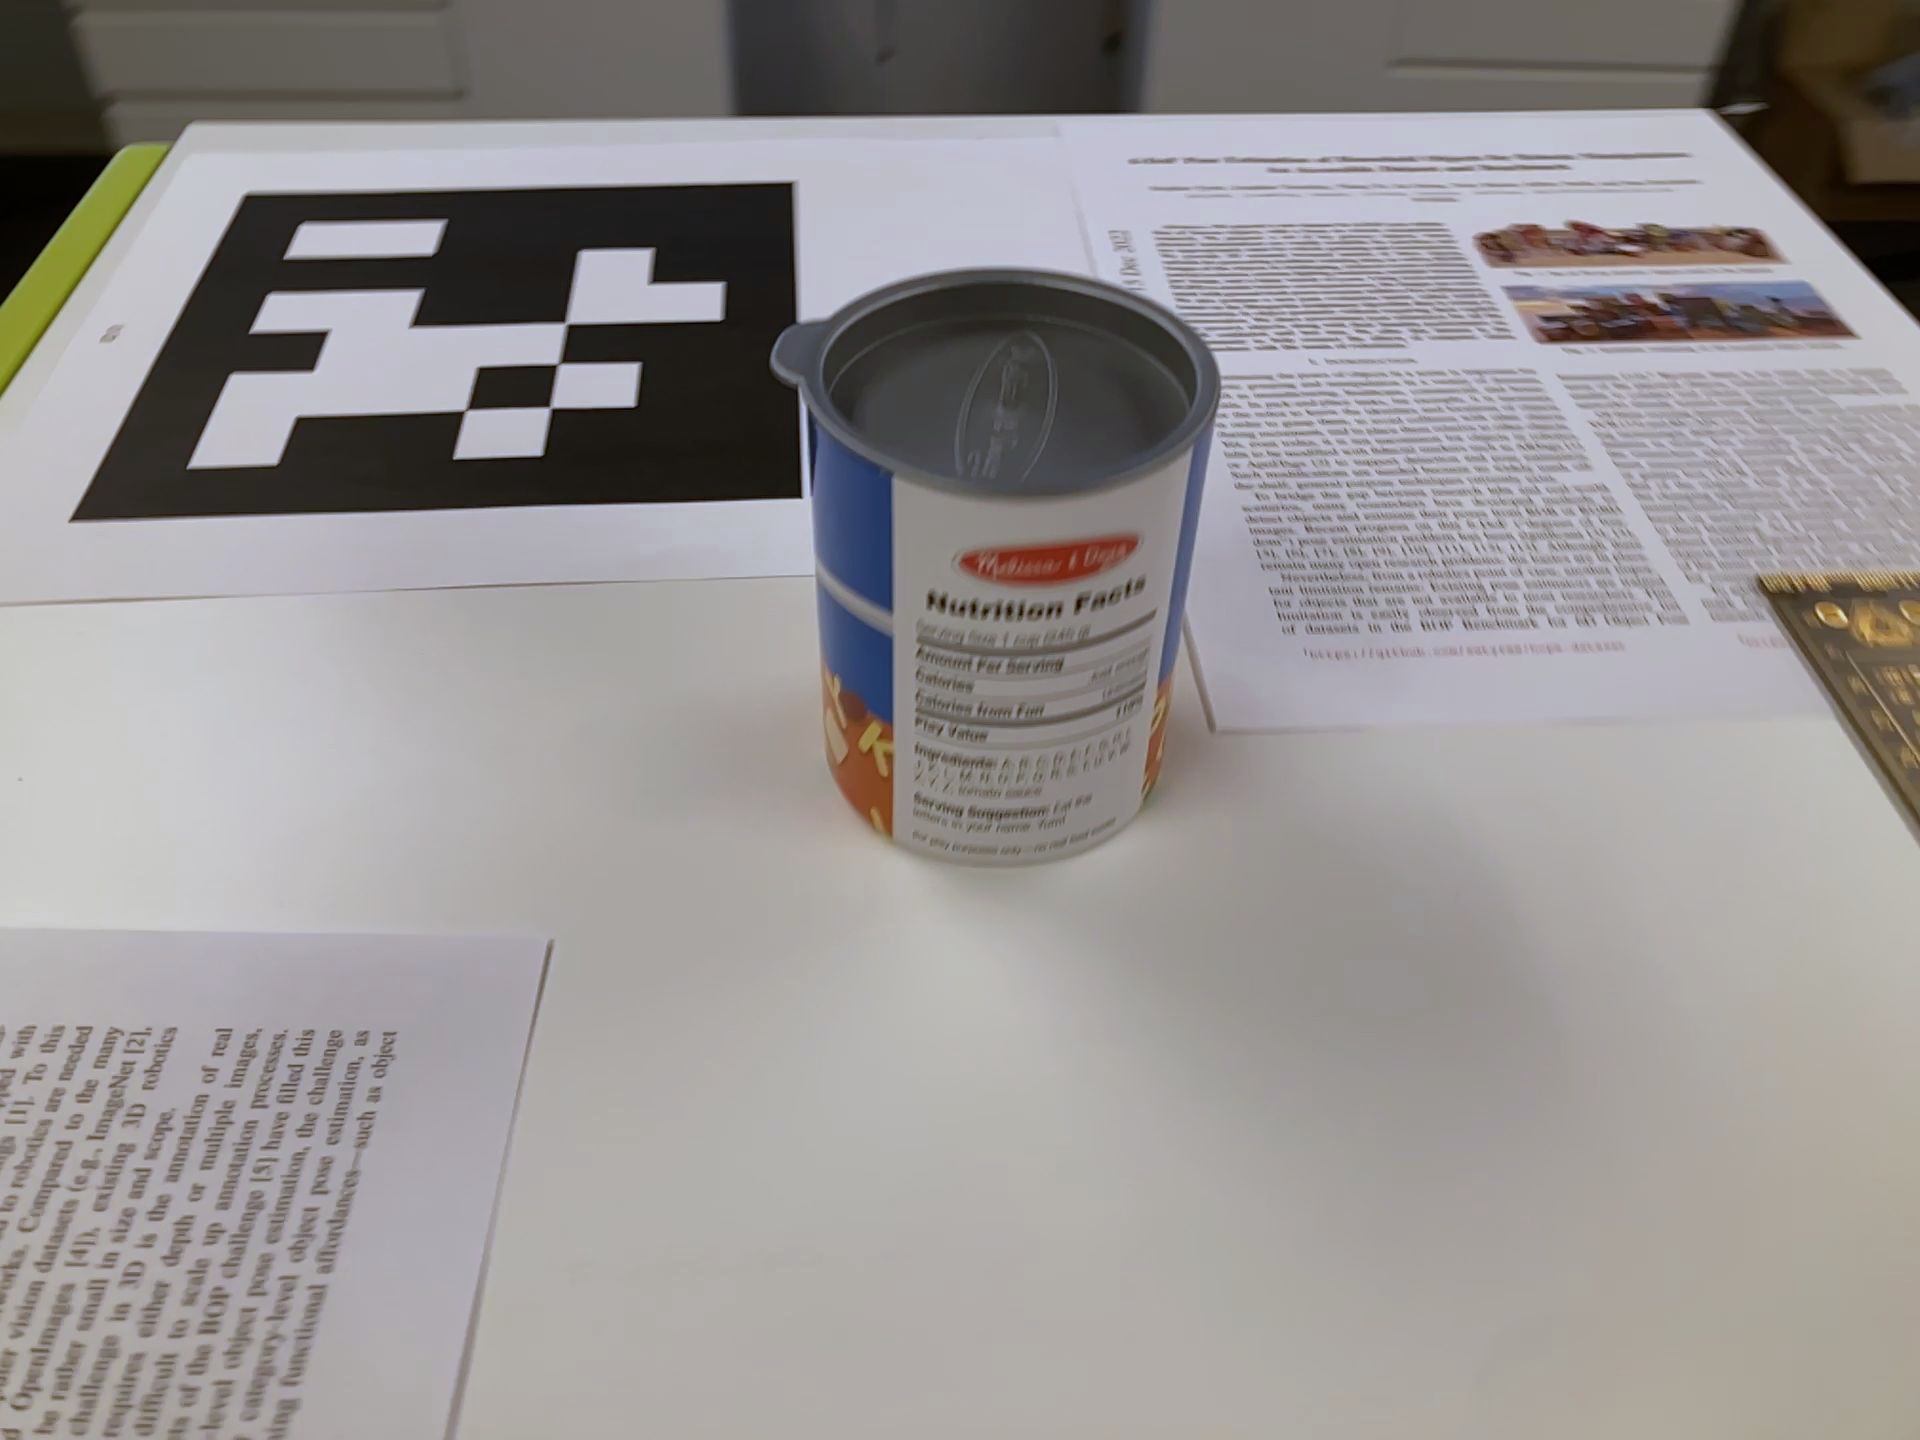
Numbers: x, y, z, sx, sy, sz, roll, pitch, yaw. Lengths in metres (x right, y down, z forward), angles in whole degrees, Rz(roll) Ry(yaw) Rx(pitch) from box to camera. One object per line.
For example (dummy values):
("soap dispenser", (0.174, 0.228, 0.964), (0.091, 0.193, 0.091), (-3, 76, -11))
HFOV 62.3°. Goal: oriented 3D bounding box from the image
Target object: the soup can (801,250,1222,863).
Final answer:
("soup can", (0.007, -0.028, 0.281), (0.071, 0.084, 0.071), (1, 44, -1))
